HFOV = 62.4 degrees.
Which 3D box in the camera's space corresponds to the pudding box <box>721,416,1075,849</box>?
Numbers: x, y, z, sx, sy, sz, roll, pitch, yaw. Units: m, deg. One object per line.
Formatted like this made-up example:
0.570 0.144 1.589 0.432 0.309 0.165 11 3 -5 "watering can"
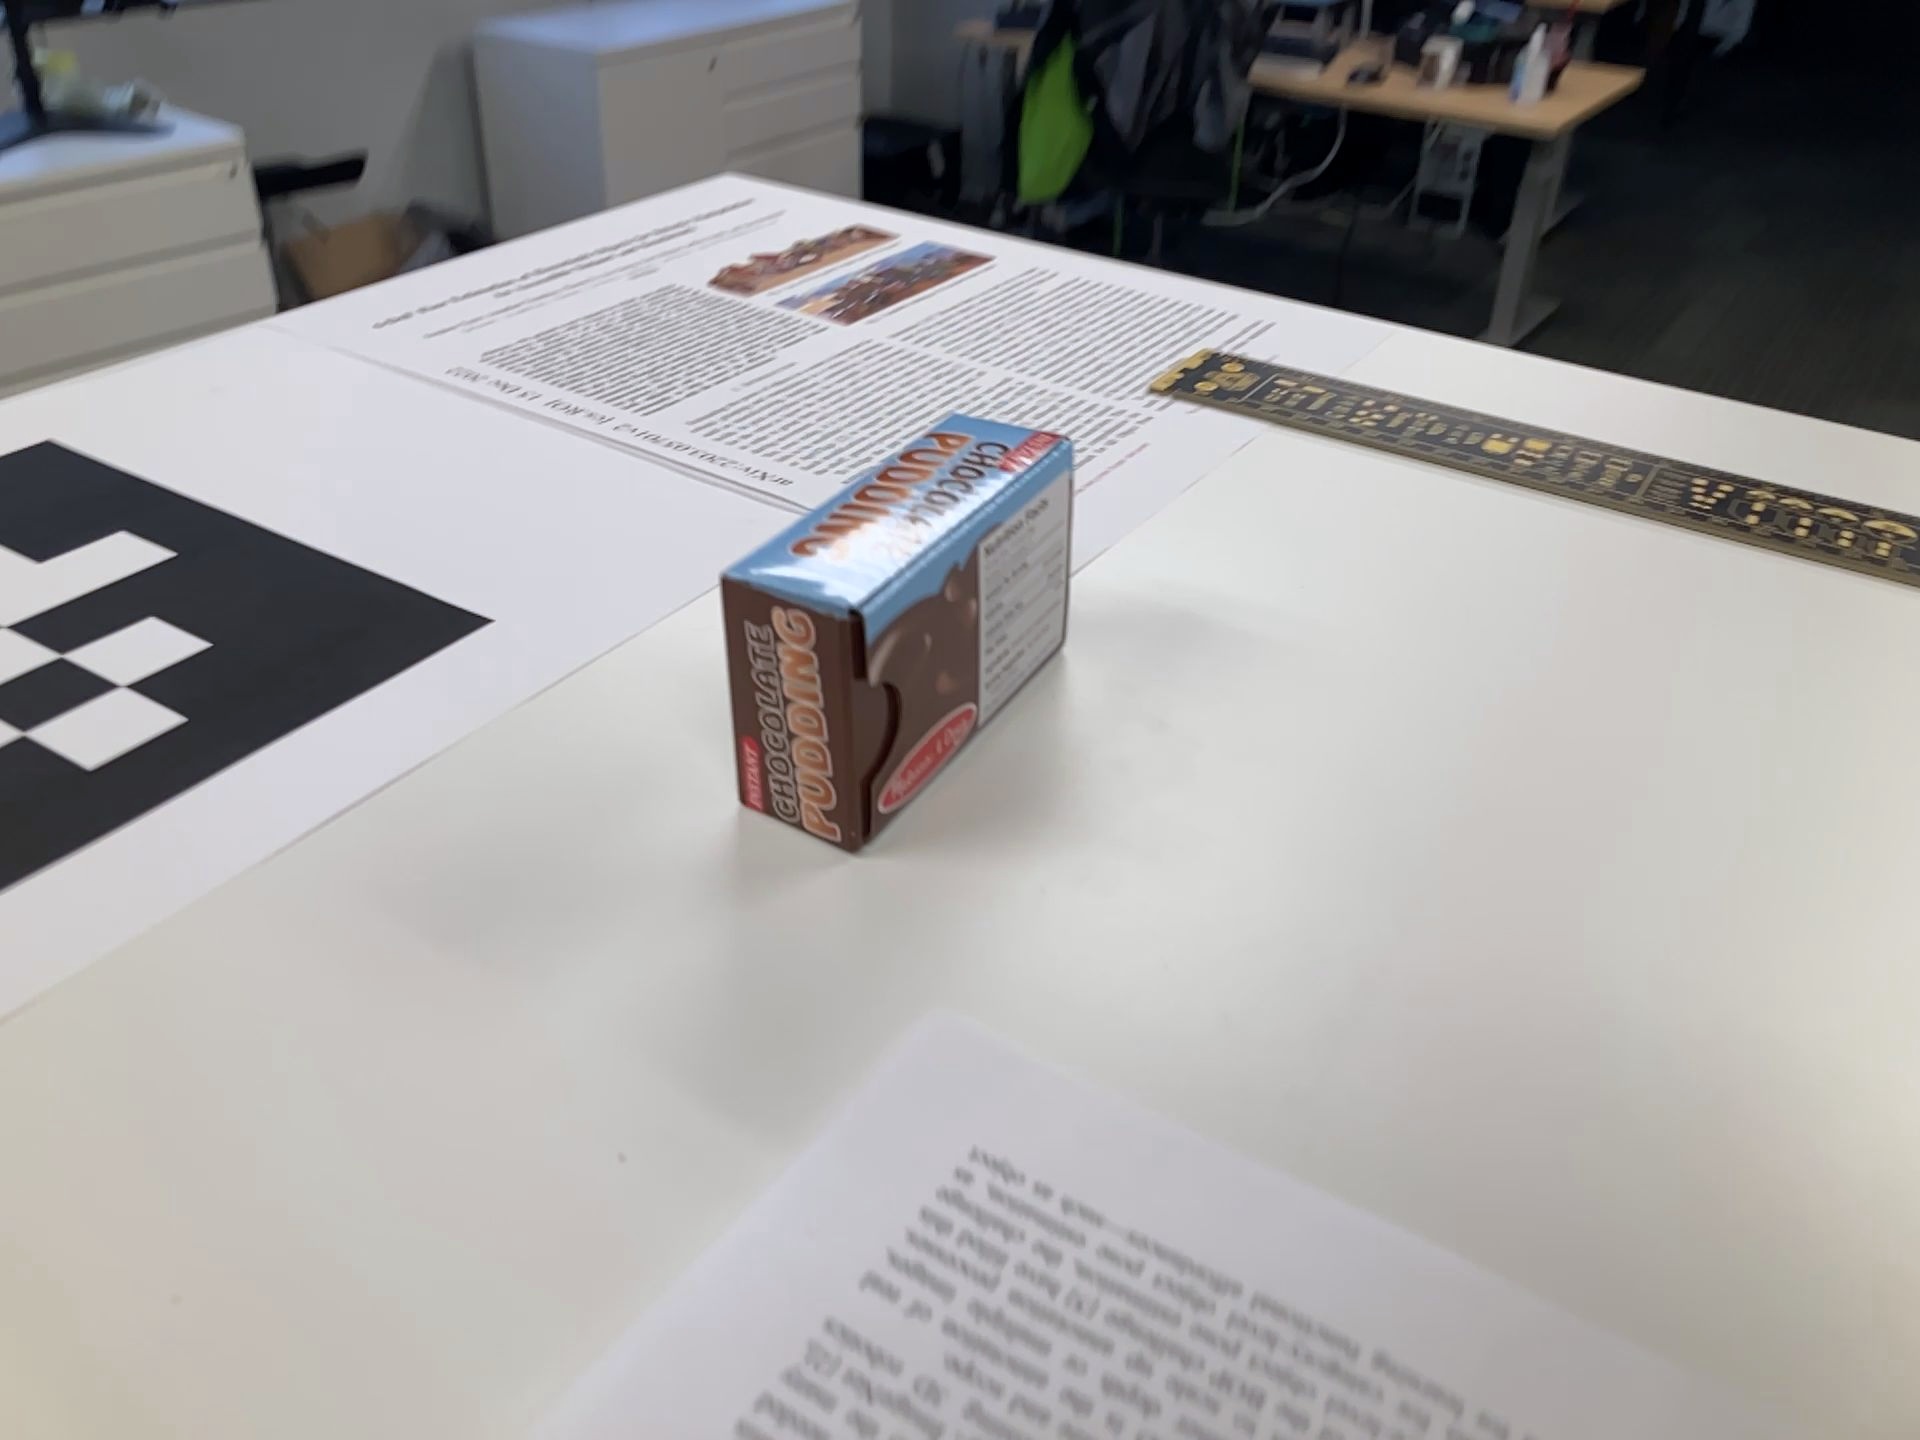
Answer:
-0.008 -0.020 0.301 0.030 0.049 0.083 17 37 24 "pudding box"
